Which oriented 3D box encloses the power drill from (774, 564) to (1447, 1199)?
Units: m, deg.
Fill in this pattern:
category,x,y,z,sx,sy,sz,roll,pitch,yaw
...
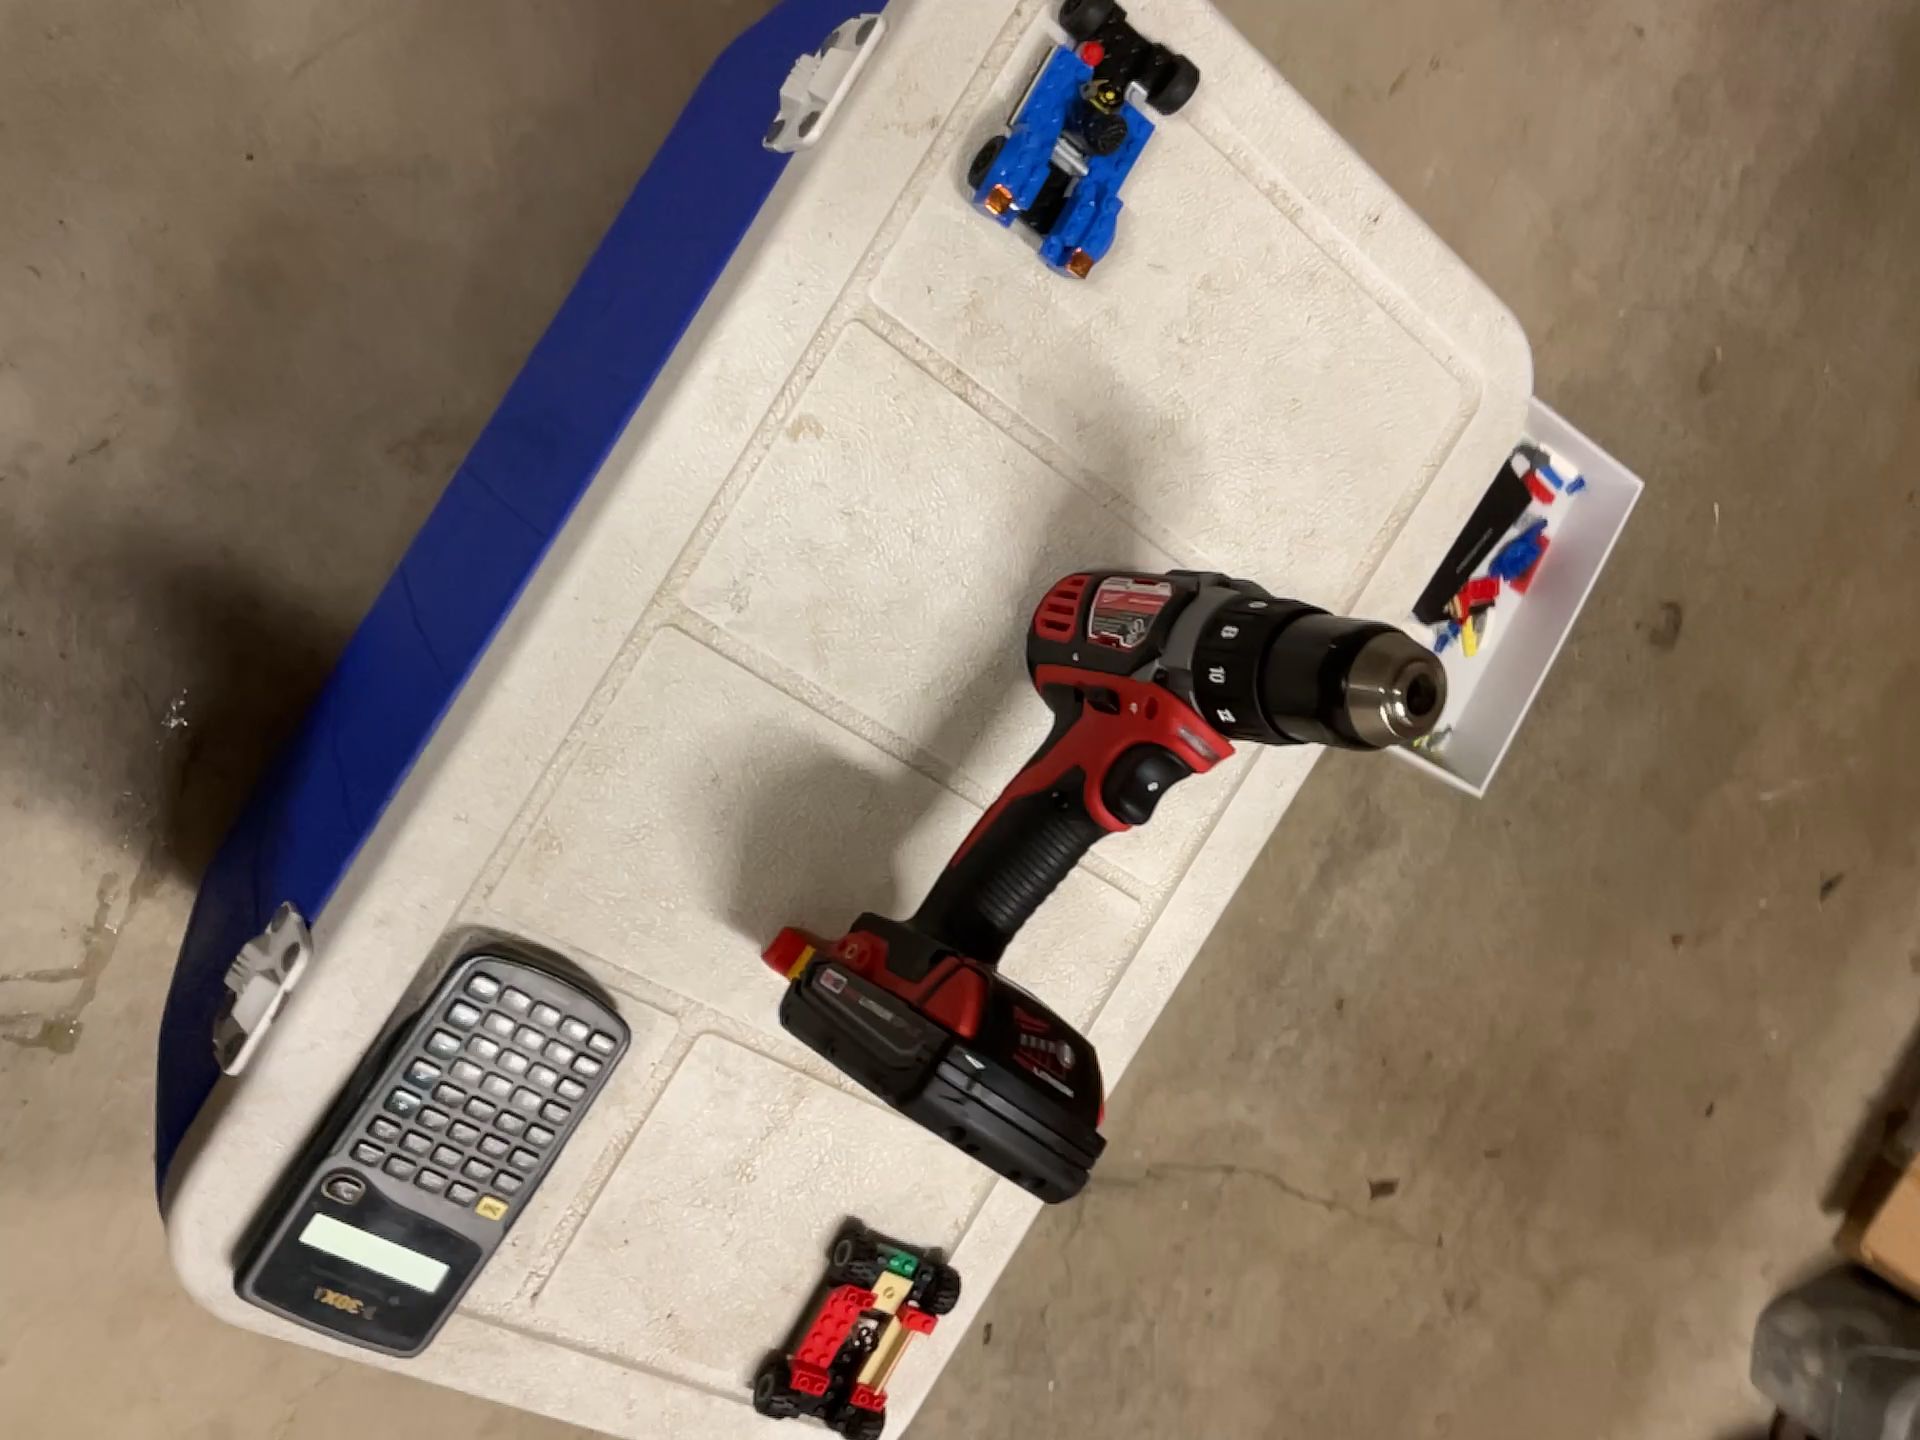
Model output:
category,x,y,z,sx,sy,sz,roll,pitch,yaw
power drill,0.052,0.044,0.559,0.080,0.188,0.227,39,77,-30
